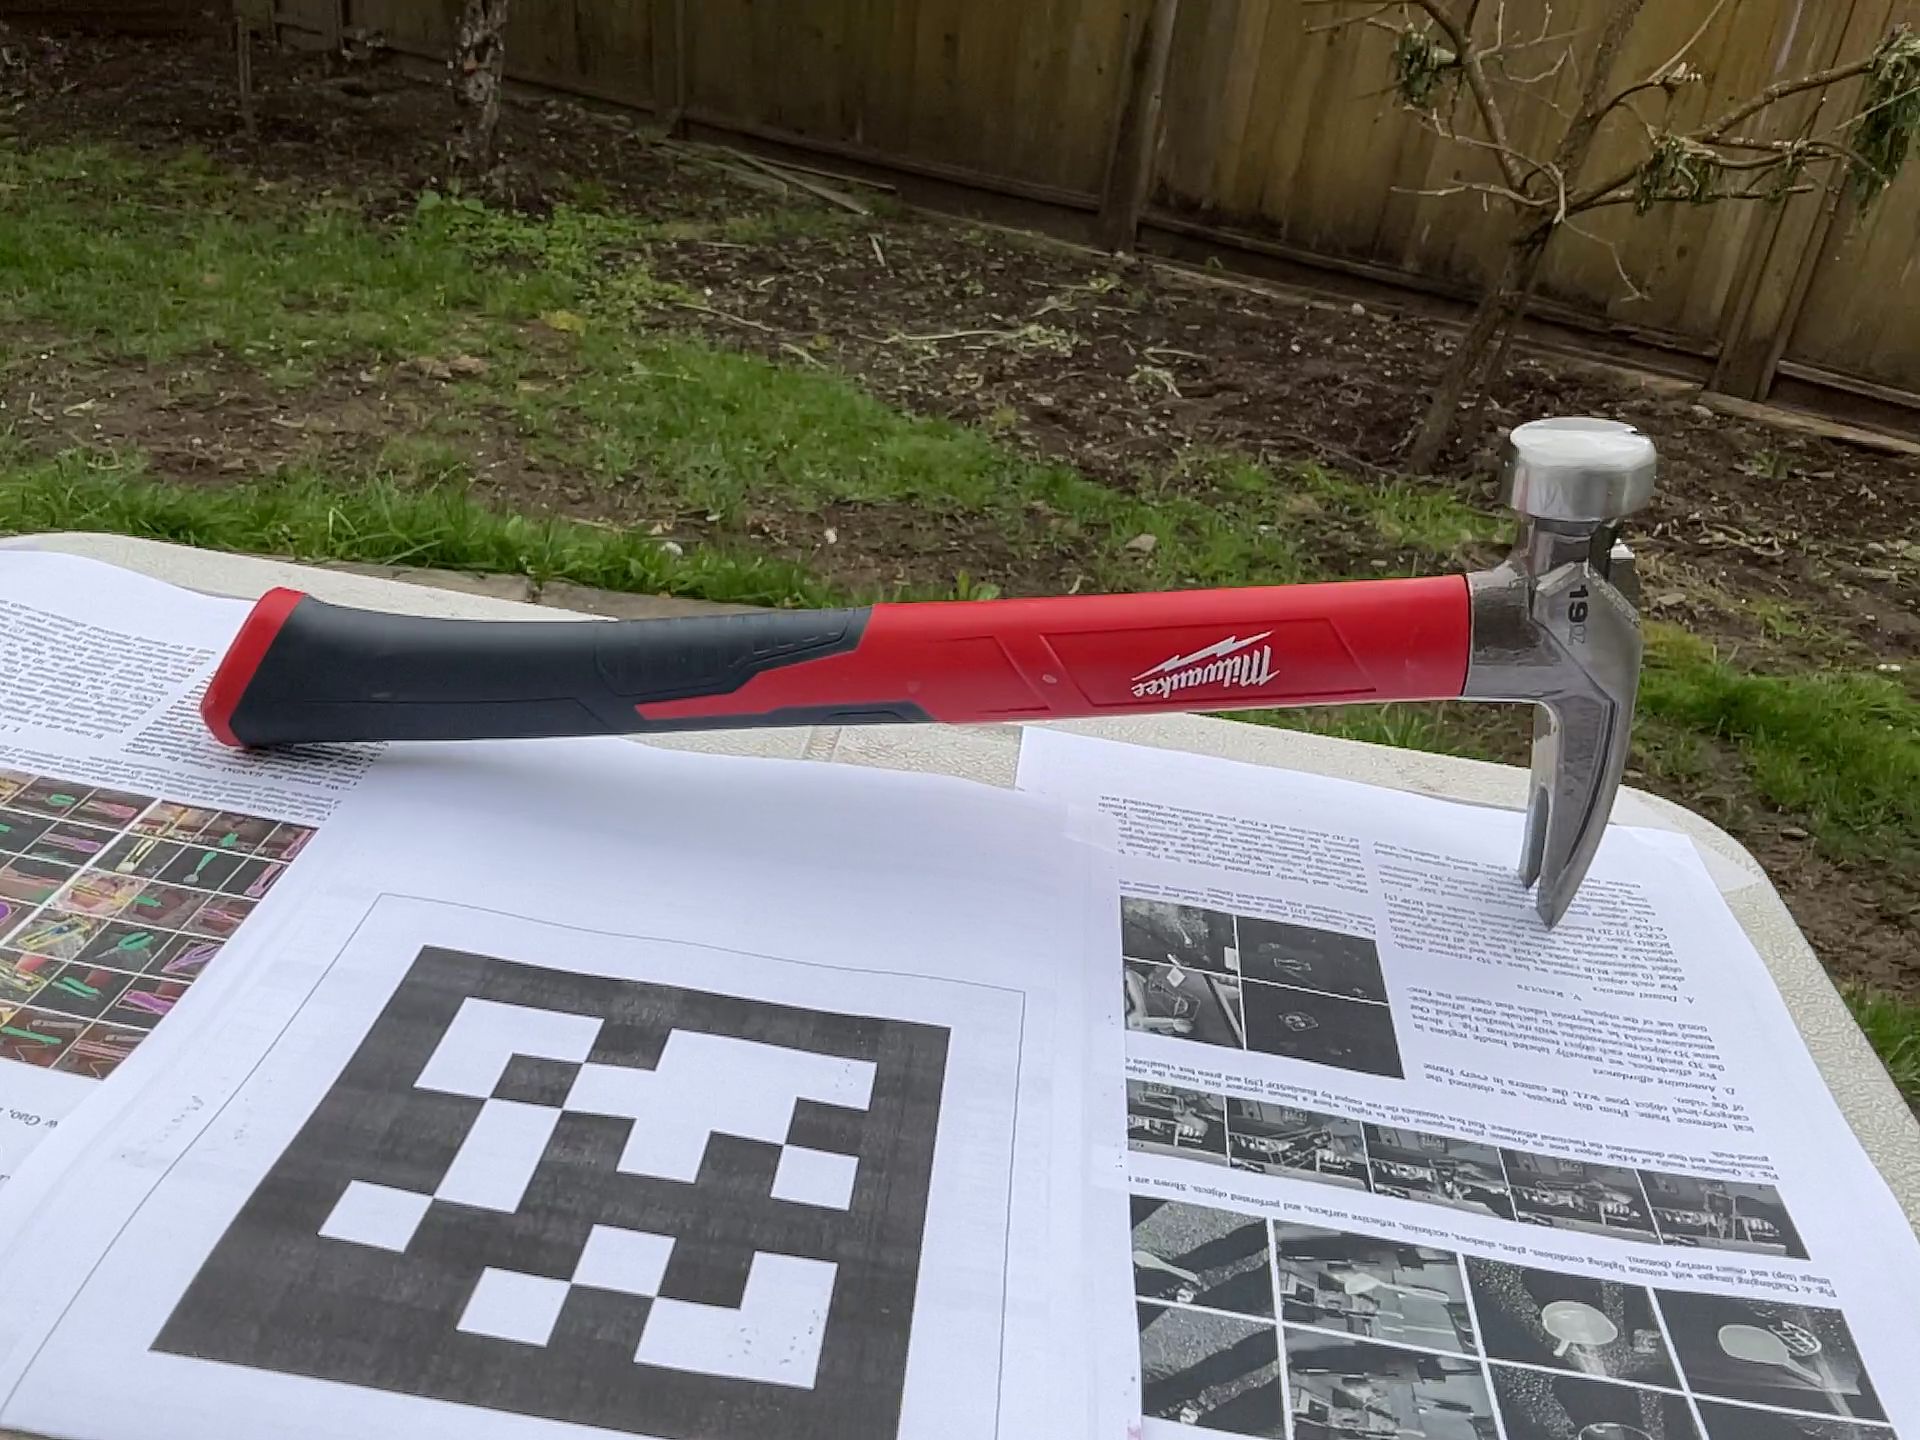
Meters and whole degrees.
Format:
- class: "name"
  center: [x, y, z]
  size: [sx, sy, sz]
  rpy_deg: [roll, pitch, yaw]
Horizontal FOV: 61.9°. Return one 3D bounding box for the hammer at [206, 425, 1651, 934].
- class: "hammer"
  center: [-0.012, 0.000, 0.451]
  size: [0.386, 0.143, 0.038]
  rpy_deg: [-3, 27, 3]
